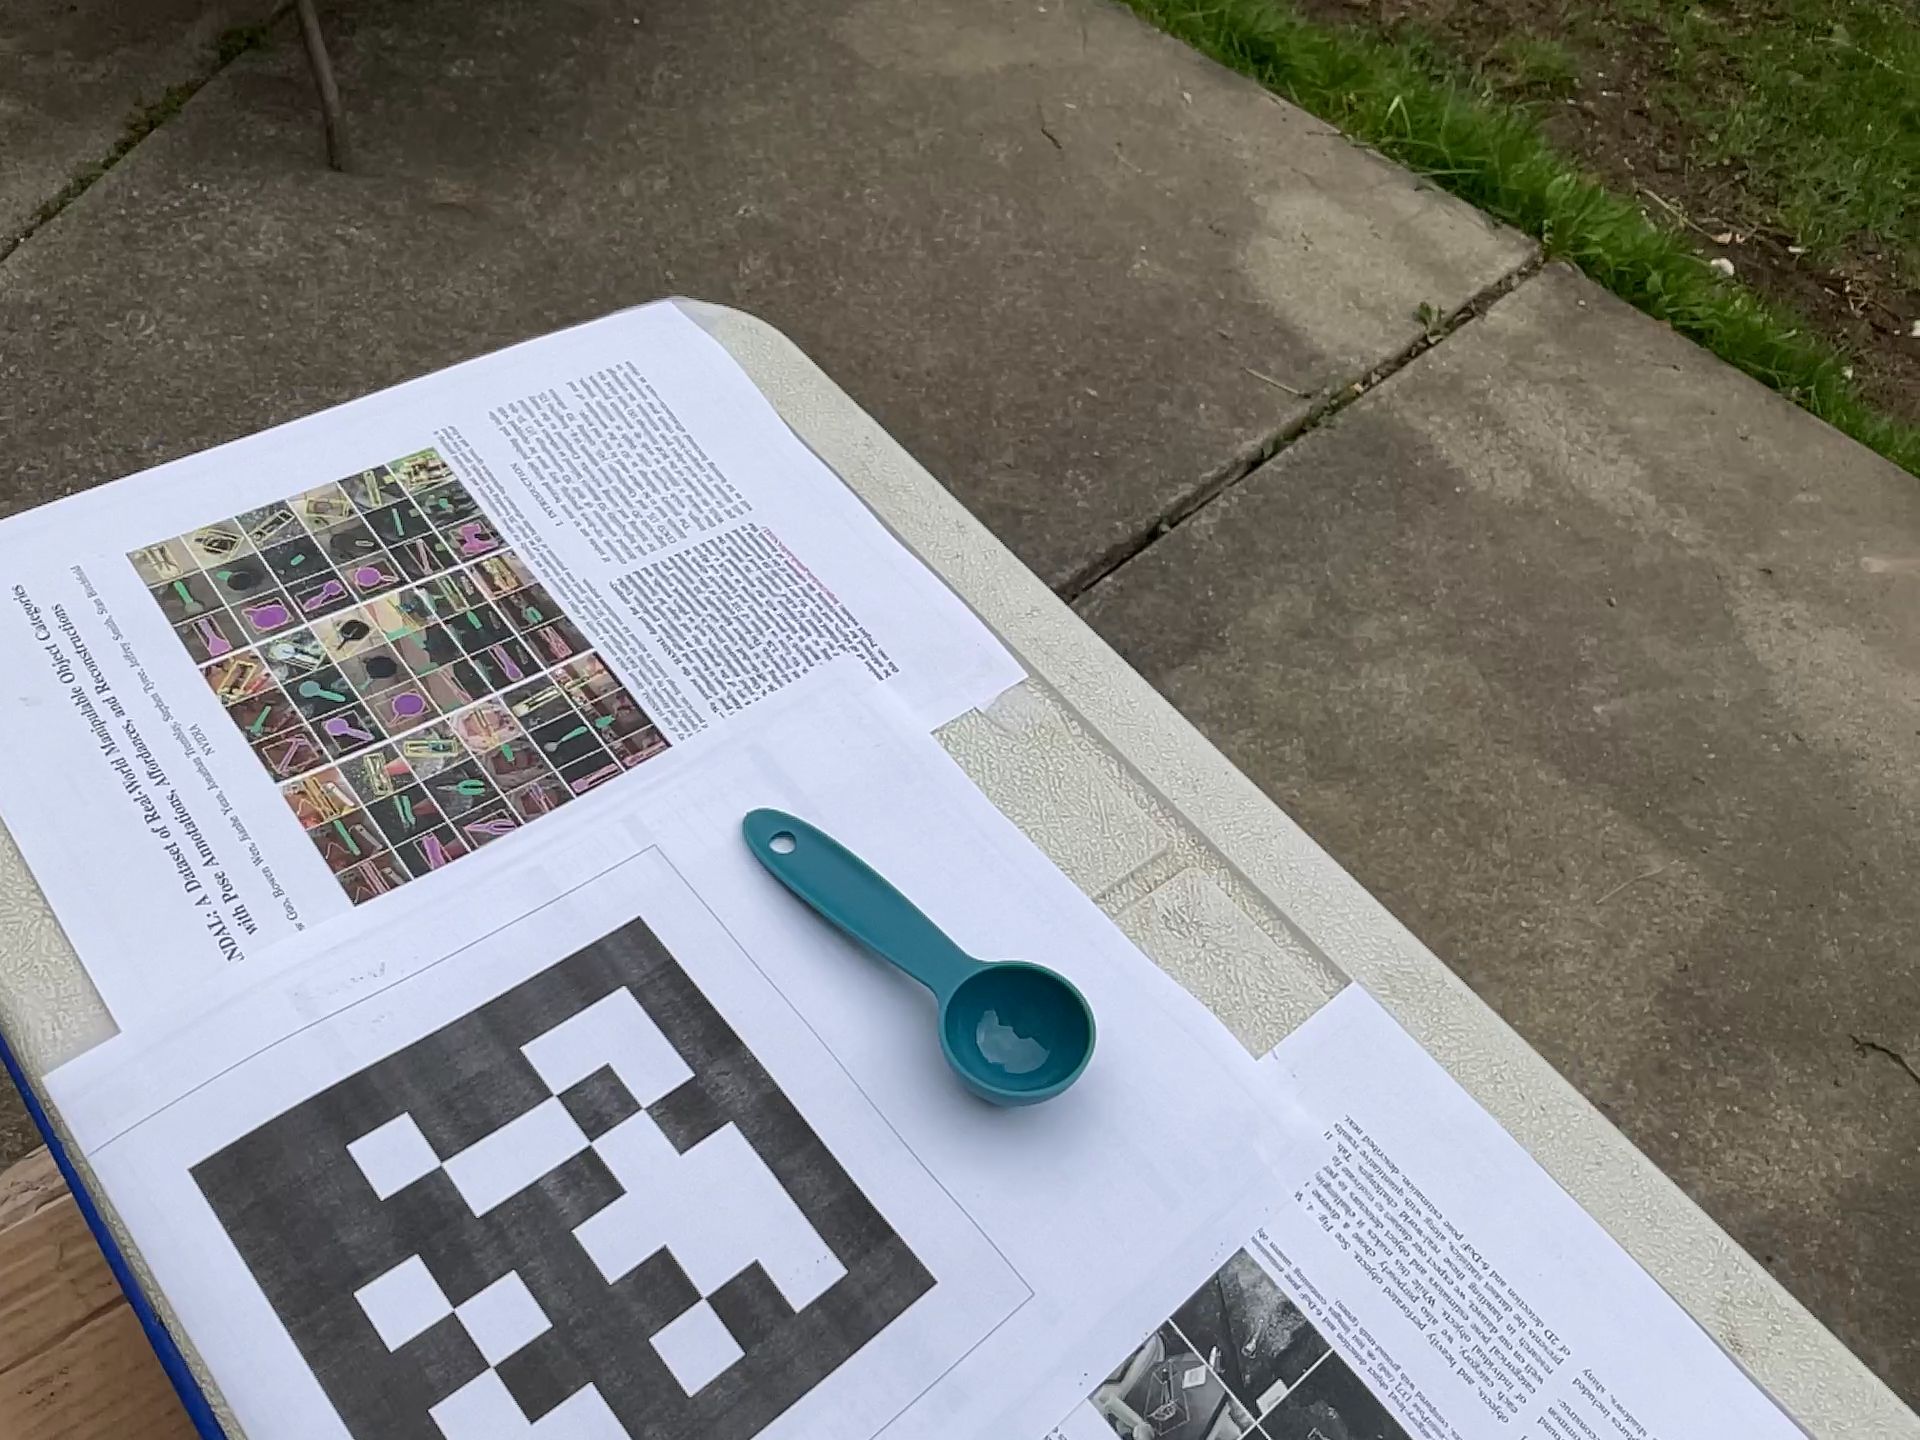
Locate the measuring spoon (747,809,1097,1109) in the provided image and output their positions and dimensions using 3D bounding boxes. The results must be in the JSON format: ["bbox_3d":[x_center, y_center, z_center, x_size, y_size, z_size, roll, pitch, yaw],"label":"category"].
[{"bbox_3d":[-0.016,0.067,0.455,0.129,0.021,0.042,36,52,28],"label":"measuring spoon"}]
